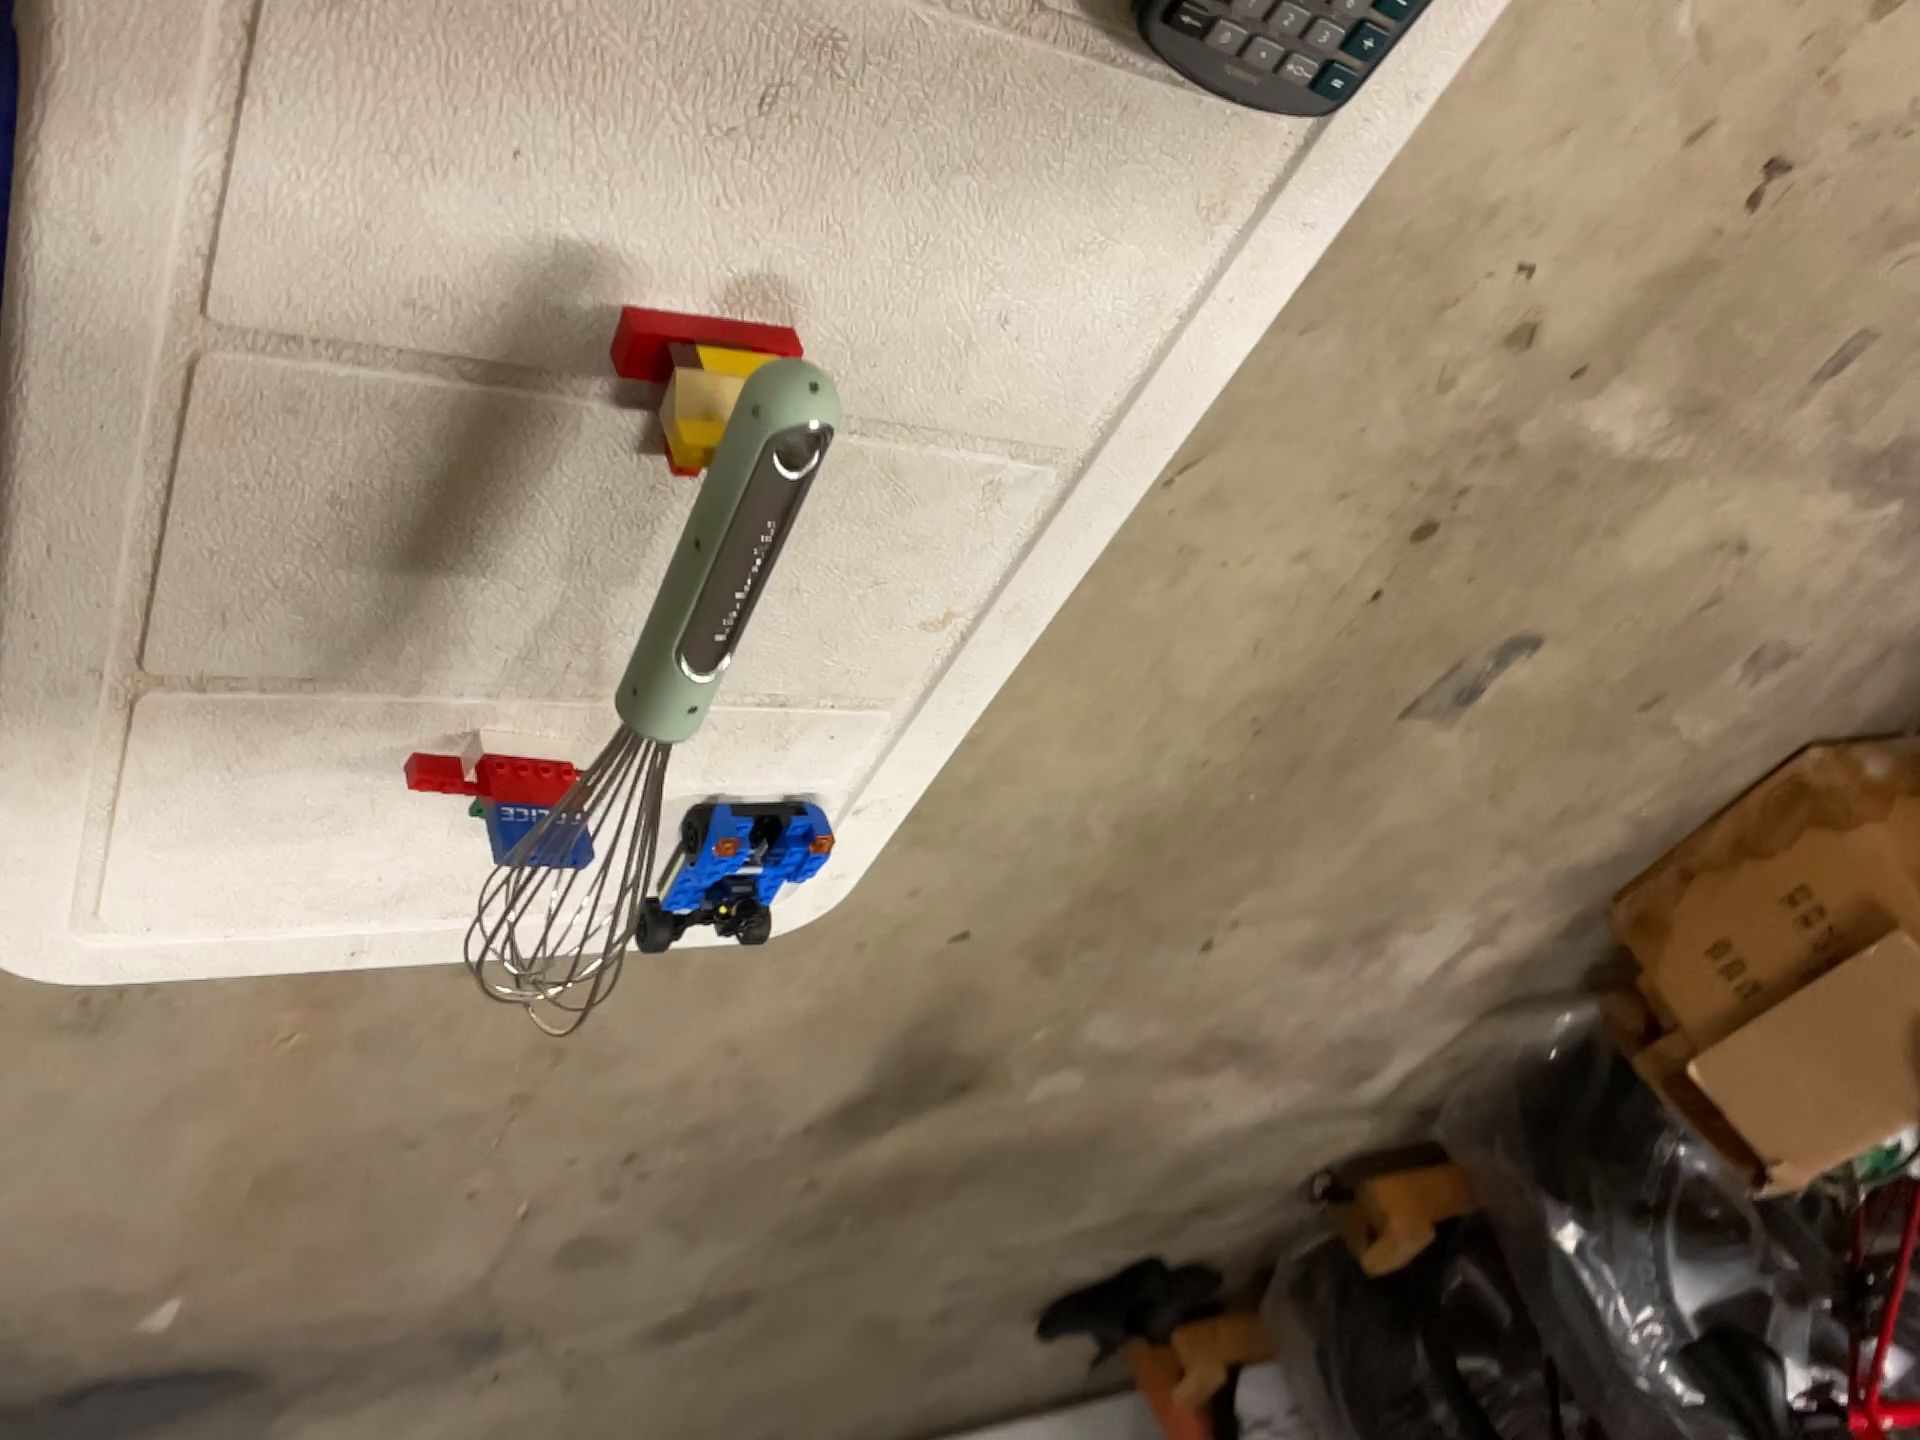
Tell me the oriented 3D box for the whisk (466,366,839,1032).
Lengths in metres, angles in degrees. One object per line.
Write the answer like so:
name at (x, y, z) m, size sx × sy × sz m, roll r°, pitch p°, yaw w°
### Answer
whisk at (-0.089, 0.004, 0.456) m, size 0.058 × 0.059 × 0.246 m, roll -4°, pitch 138°, yaw -39°
